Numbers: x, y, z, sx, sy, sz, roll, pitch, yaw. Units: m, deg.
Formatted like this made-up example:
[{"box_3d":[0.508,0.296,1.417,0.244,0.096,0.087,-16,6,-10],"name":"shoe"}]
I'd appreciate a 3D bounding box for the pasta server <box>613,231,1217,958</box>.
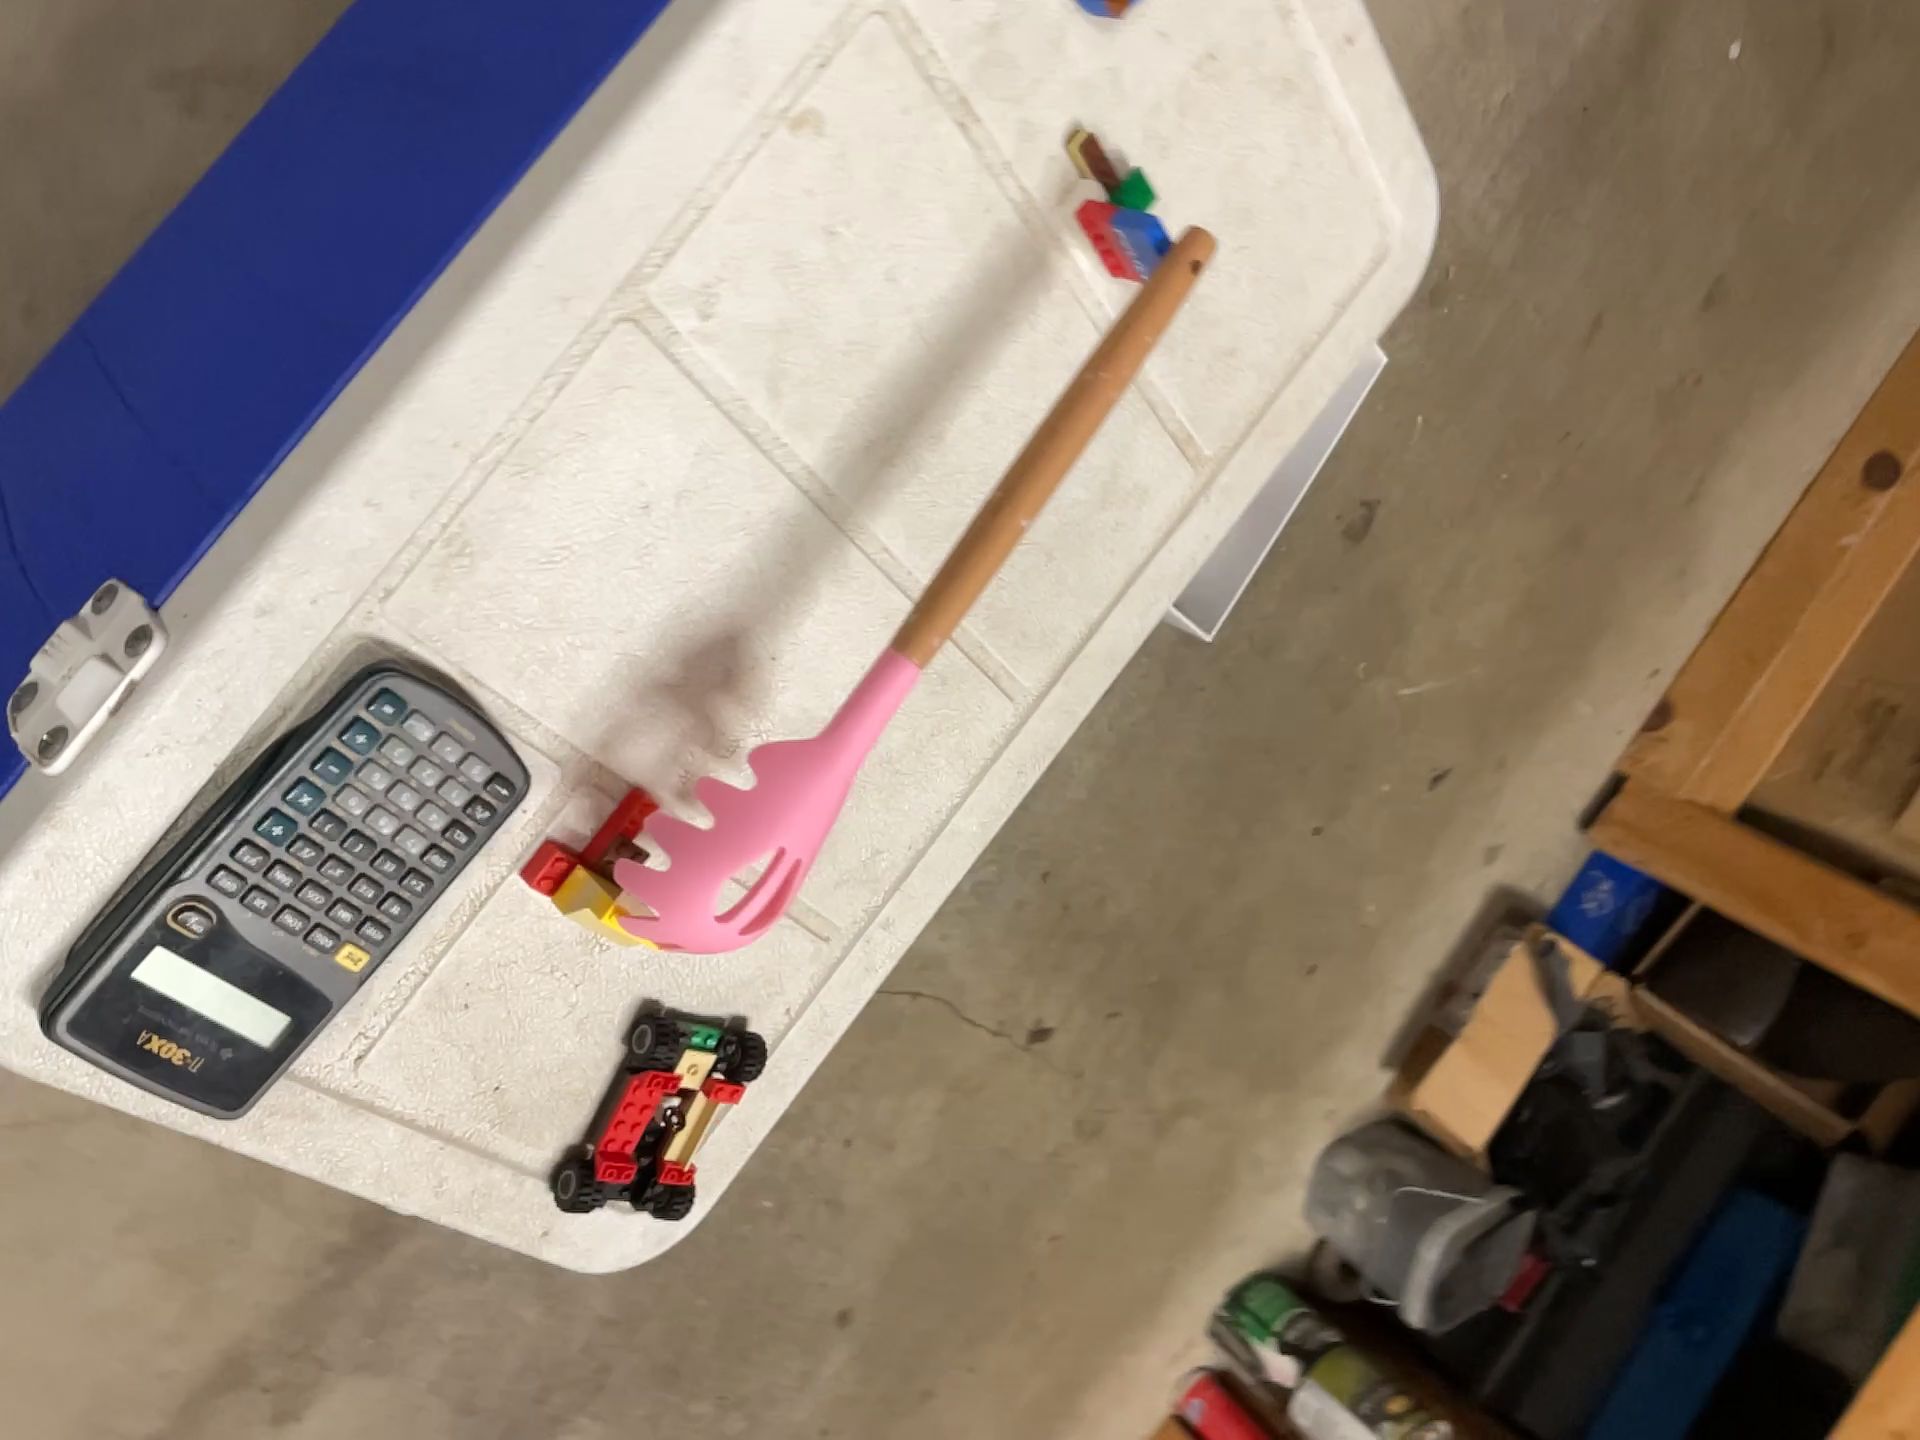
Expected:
[{"box_3d":[-0.009,-0.045,0.557,0.316,0.040,0.060,-55,134,-7],"name":"pasta server"}]
